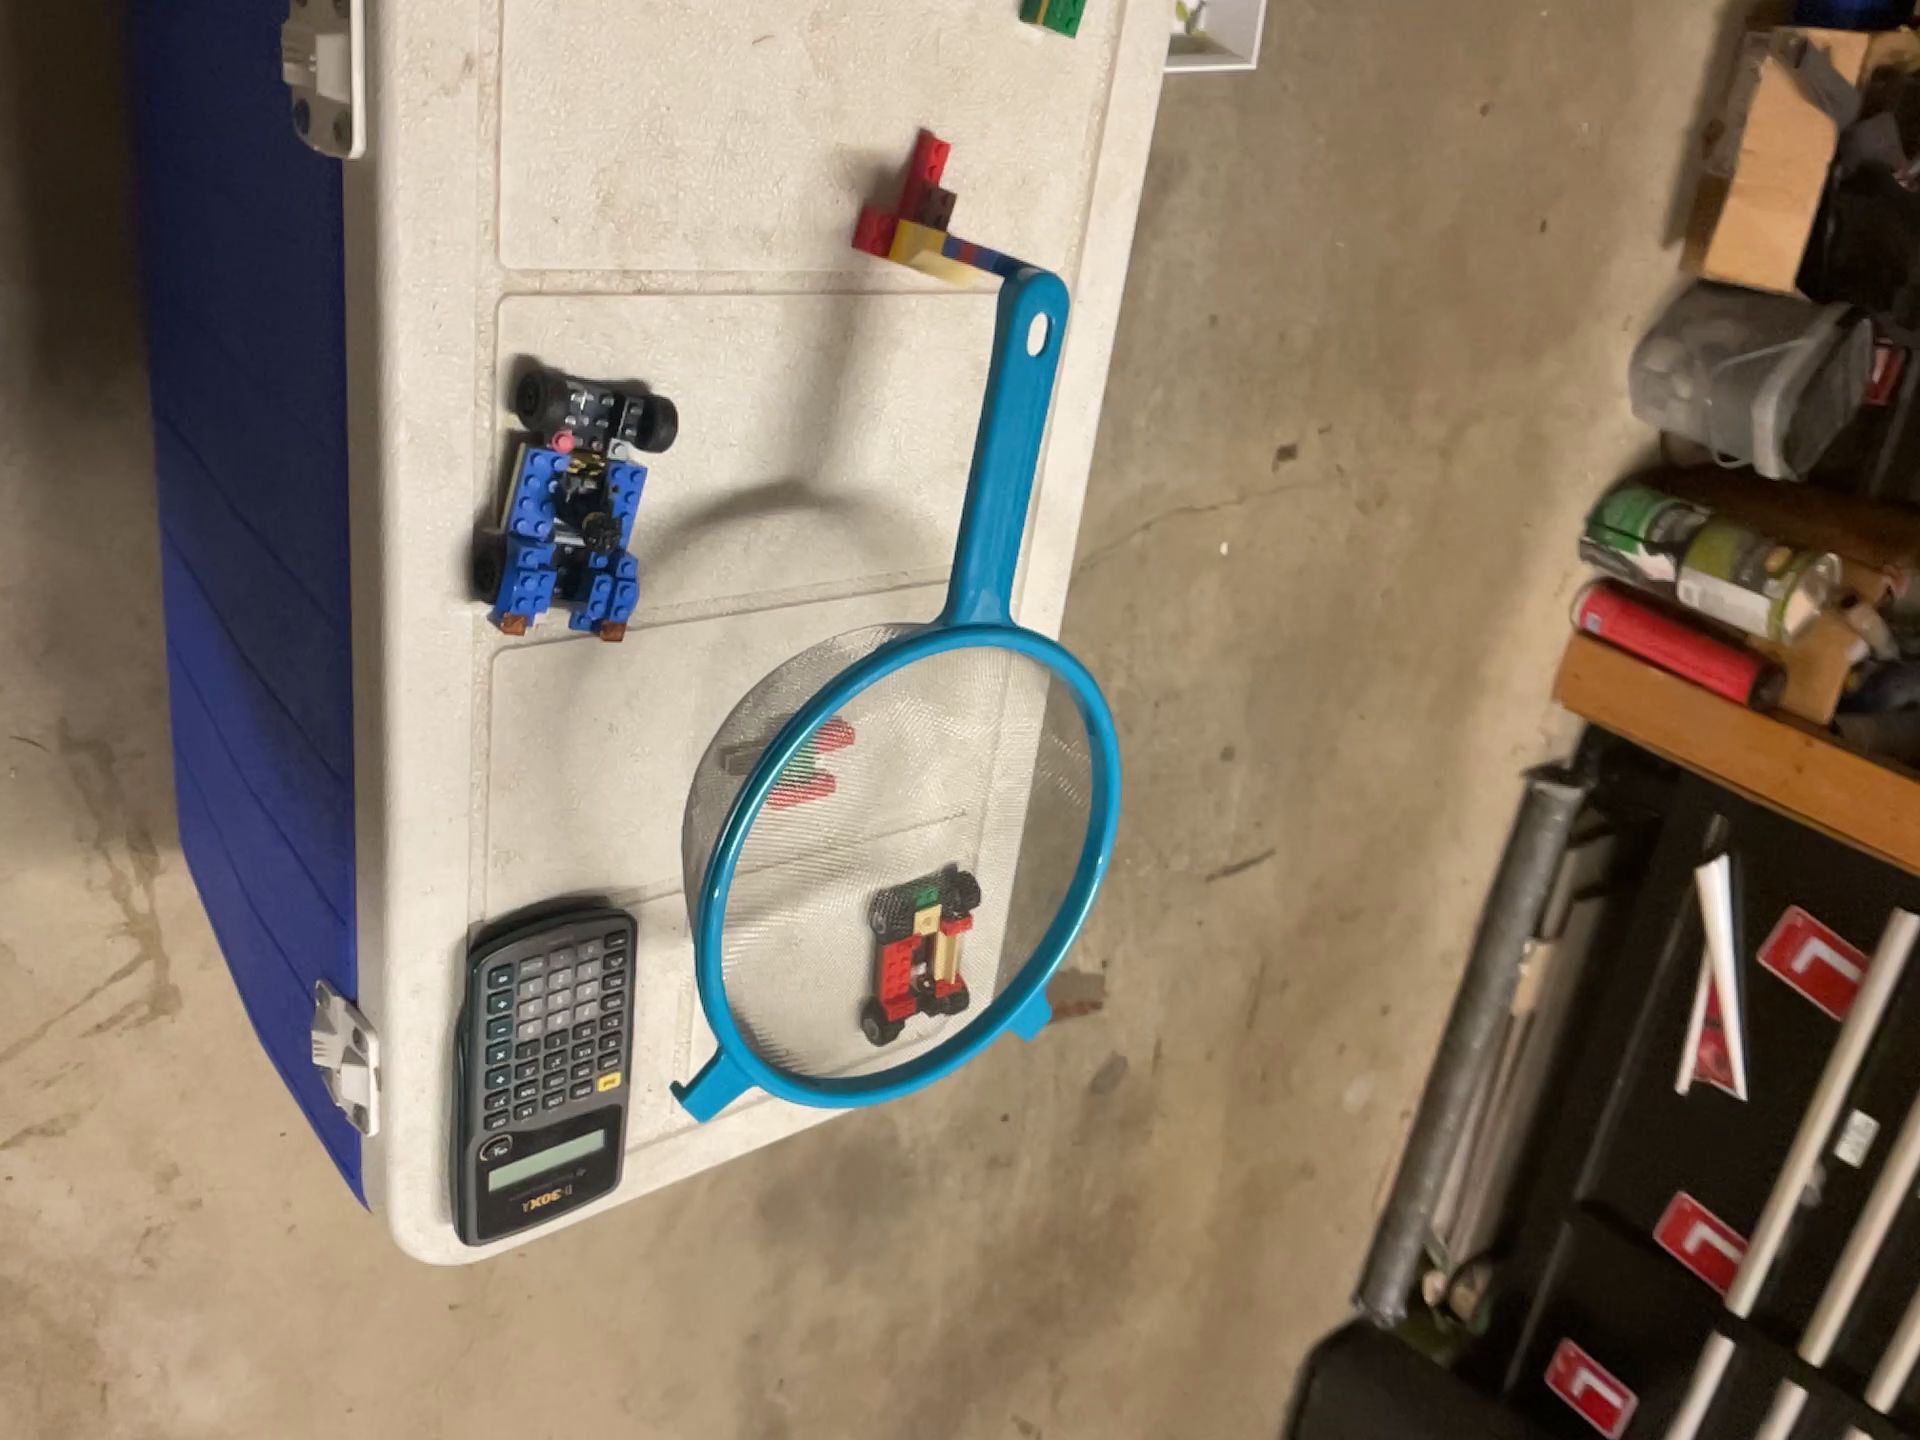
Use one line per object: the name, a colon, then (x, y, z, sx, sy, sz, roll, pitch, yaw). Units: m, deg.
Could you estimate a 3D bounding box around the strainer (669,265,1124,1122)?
strainer: (-0.026, -0.014, 0.644, 0.211, 0.095, 0.340, -3, 111, -41)
